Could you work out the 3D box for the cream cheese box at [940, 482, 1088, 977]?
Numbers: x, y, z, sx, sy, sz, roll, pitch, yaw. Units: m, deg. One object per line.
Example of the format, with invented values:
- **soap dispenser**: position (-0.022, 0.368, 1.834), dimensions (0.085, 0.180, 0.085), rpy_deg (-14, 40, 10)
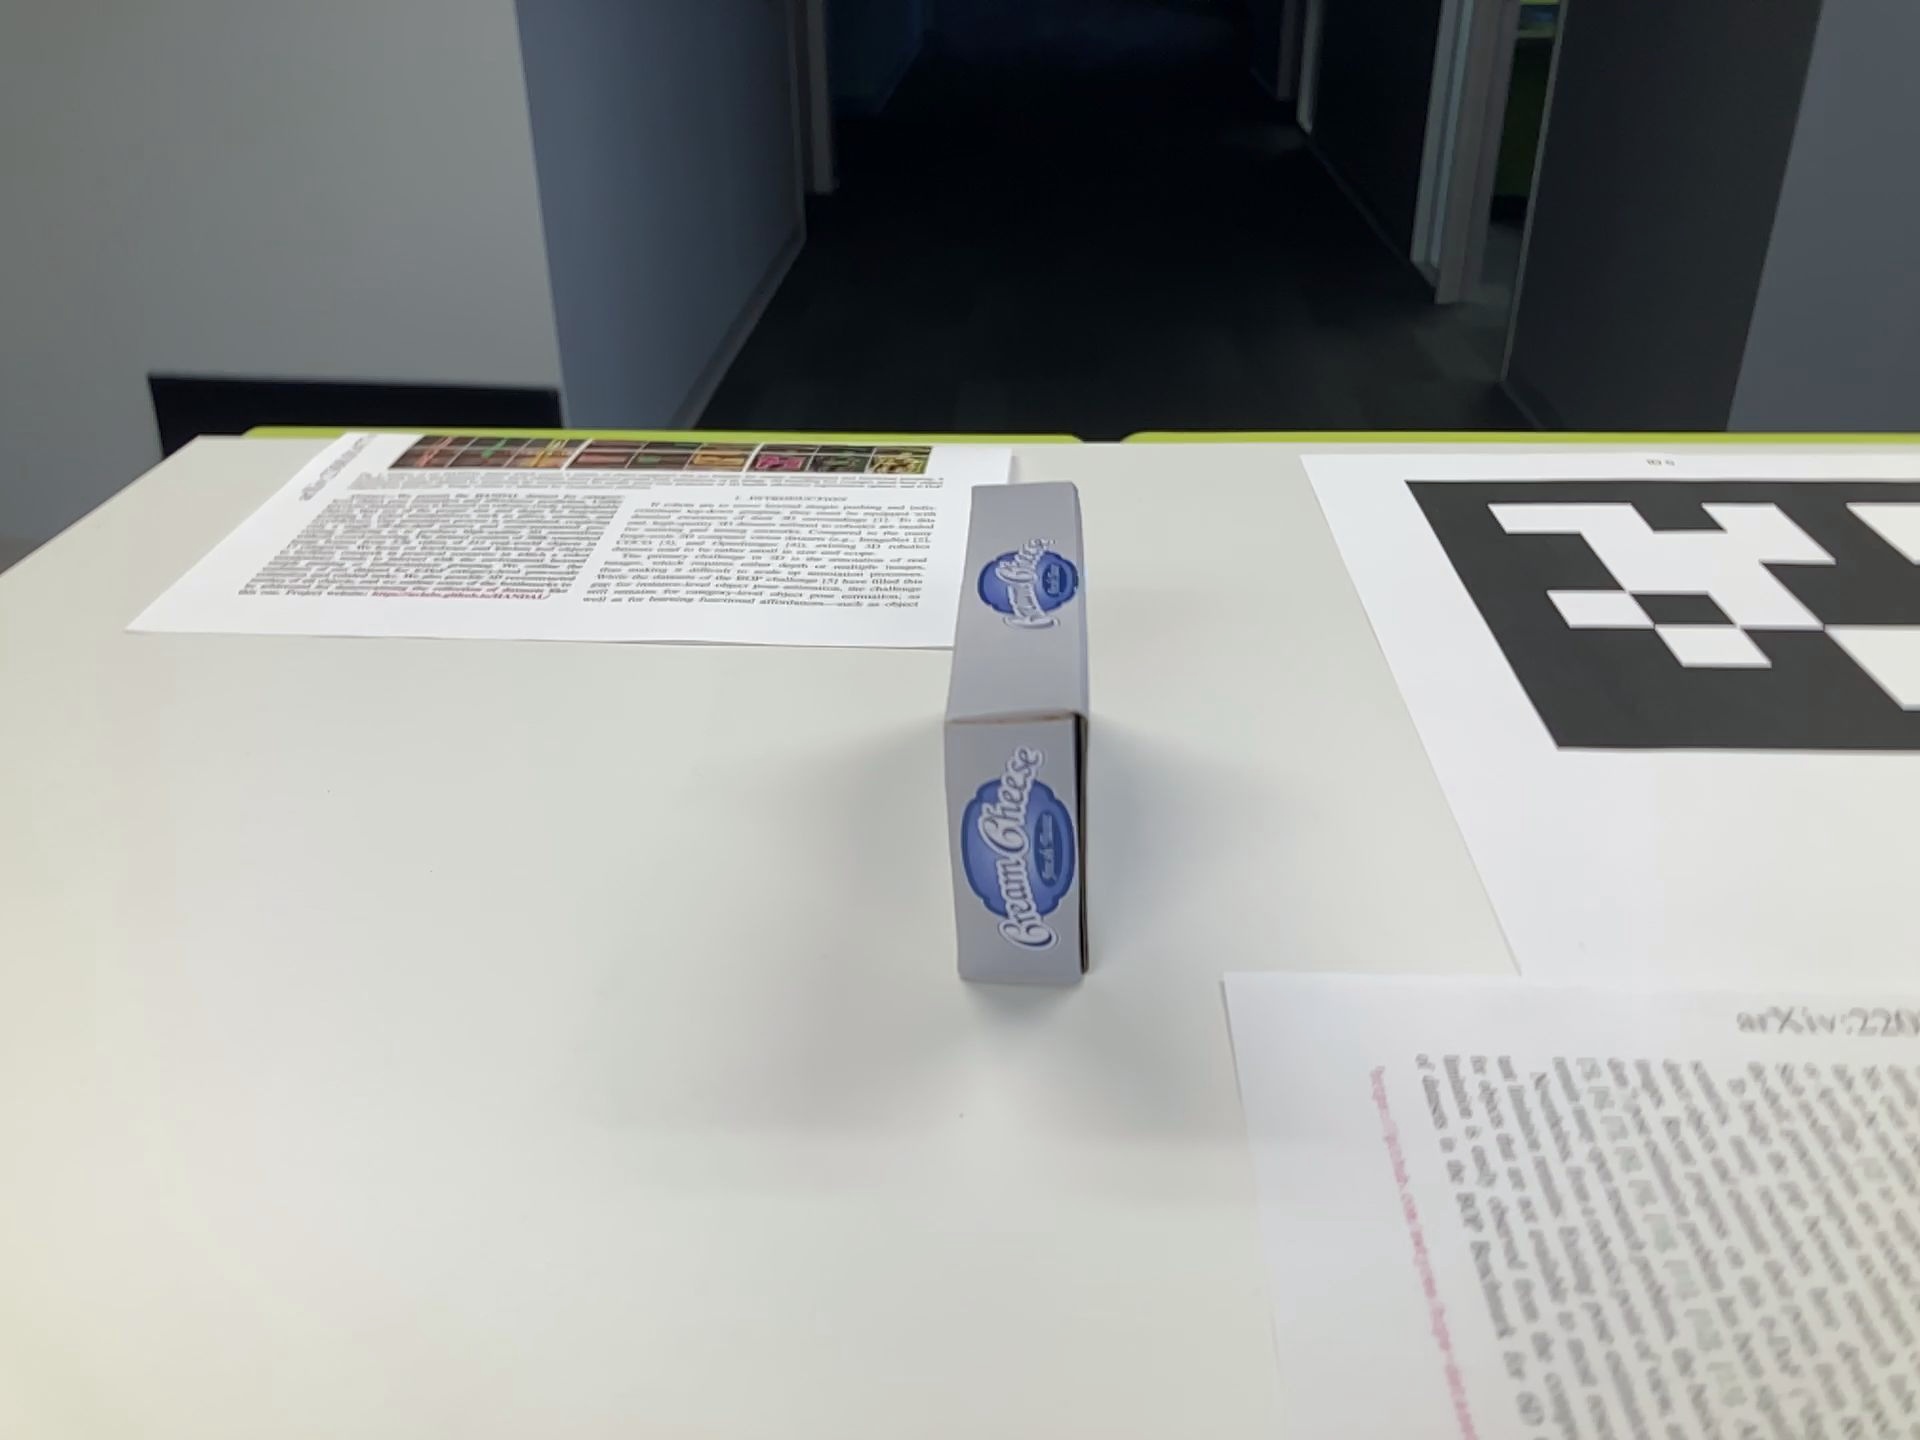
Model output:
- **cream cheese box**: position (0.012, -0.003, 0.304), dimensions (0.024, 0.053, 0.104), rpy_deg (-1, 28, 4)
